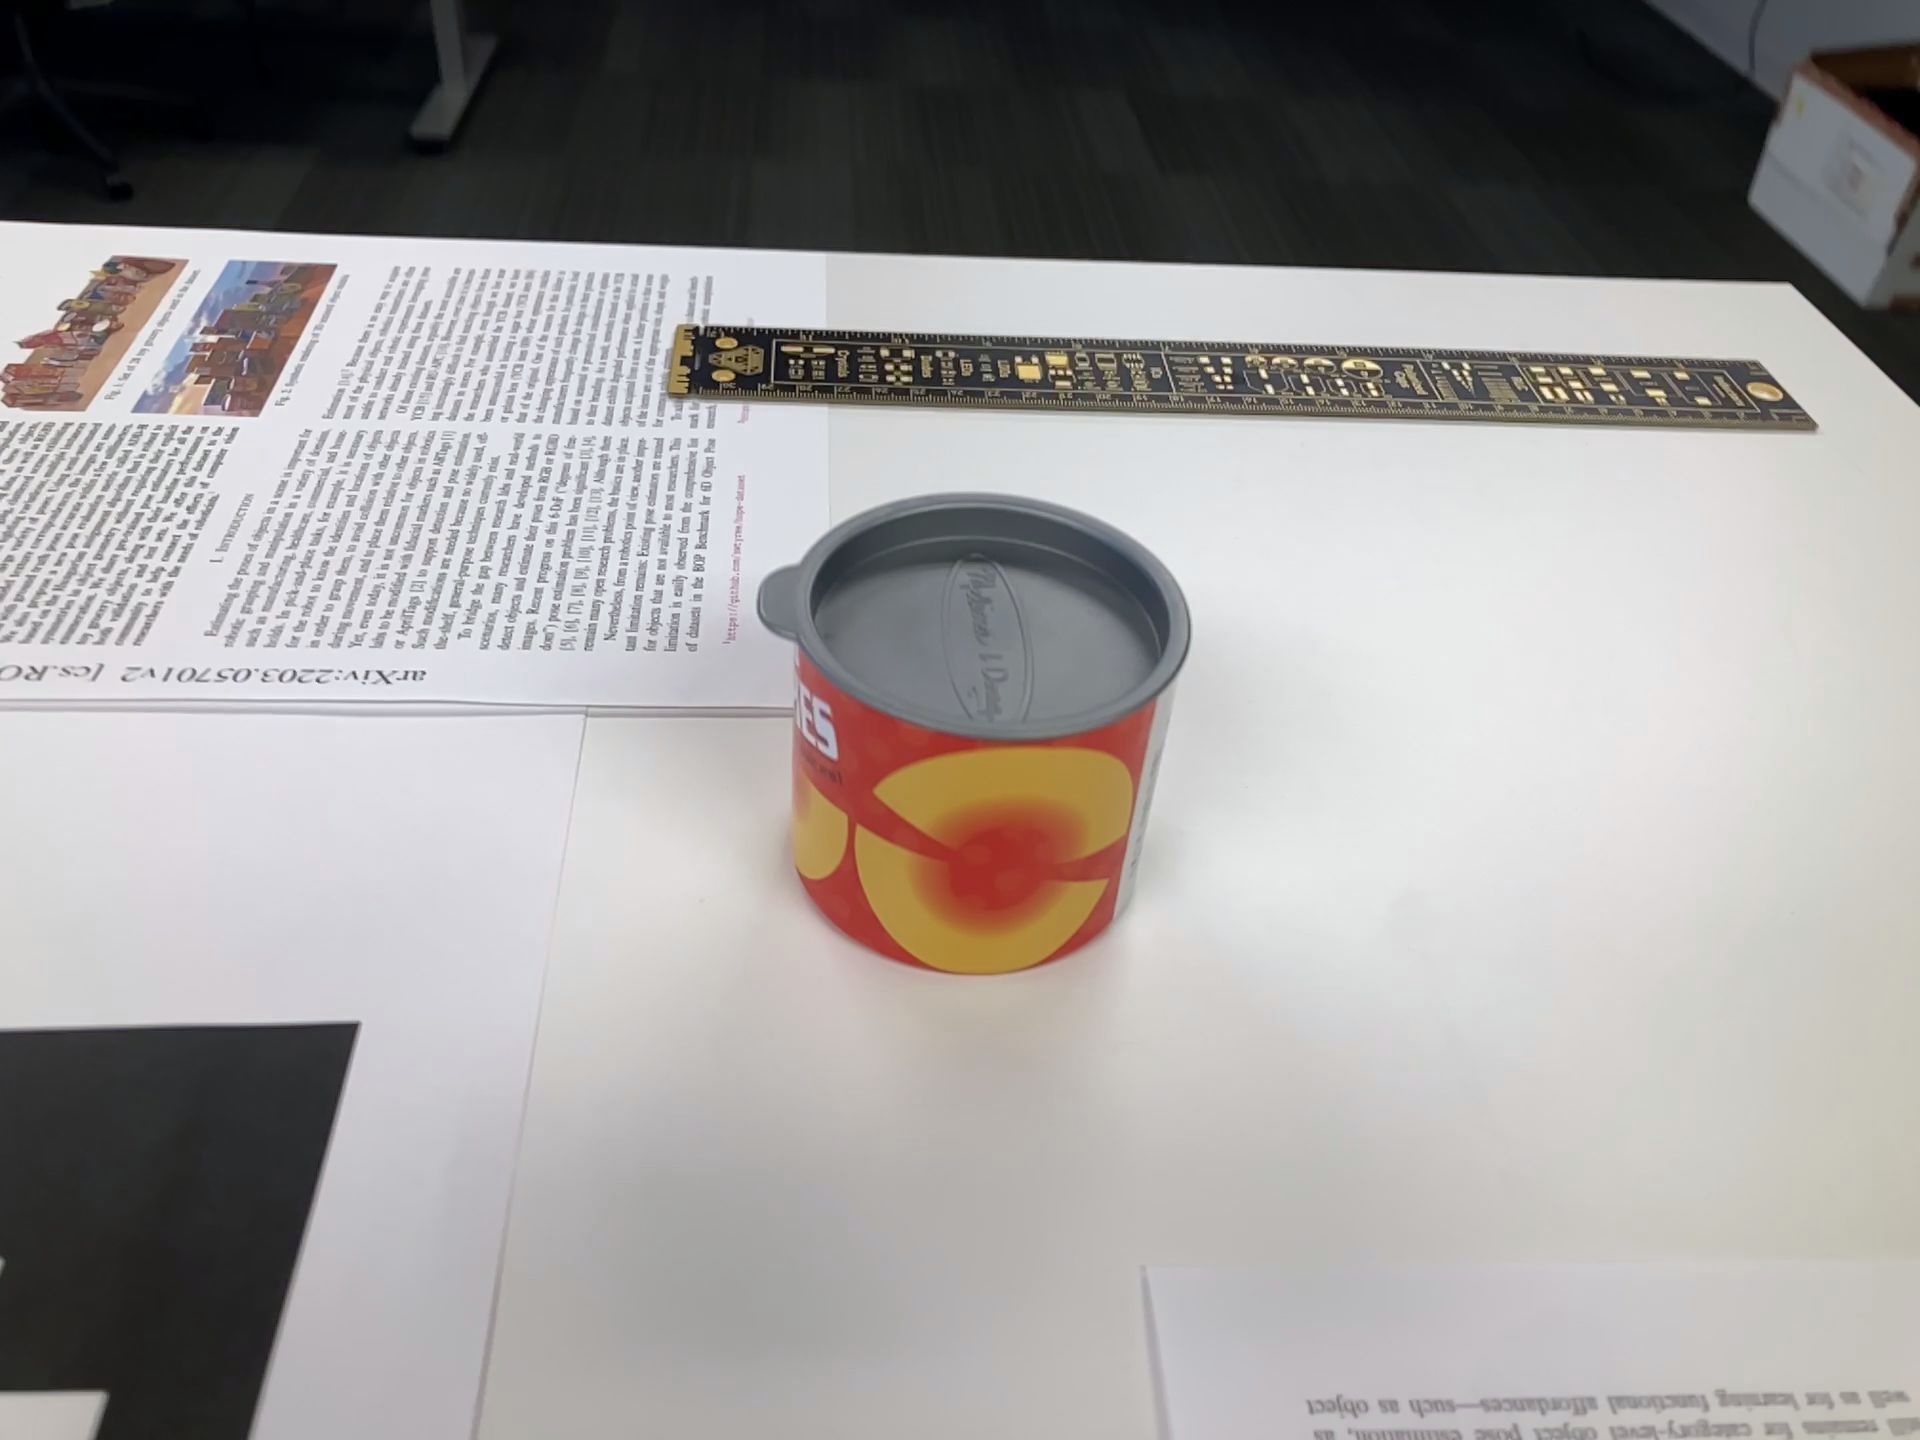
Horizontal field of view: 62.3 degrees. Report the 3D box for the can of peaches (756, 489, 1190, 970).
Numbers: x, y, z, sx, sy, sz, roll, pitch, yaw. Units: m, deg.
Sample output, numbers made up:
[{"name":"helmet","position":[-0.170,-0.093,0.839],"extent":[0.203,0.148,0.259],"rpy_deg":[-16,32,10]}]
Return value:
[{"name":"can of peaches","position":[0.001,0.001,0.280],"extent":[0.071,0.058,0.071],"rpy_deg":[3,41,-2]}]
